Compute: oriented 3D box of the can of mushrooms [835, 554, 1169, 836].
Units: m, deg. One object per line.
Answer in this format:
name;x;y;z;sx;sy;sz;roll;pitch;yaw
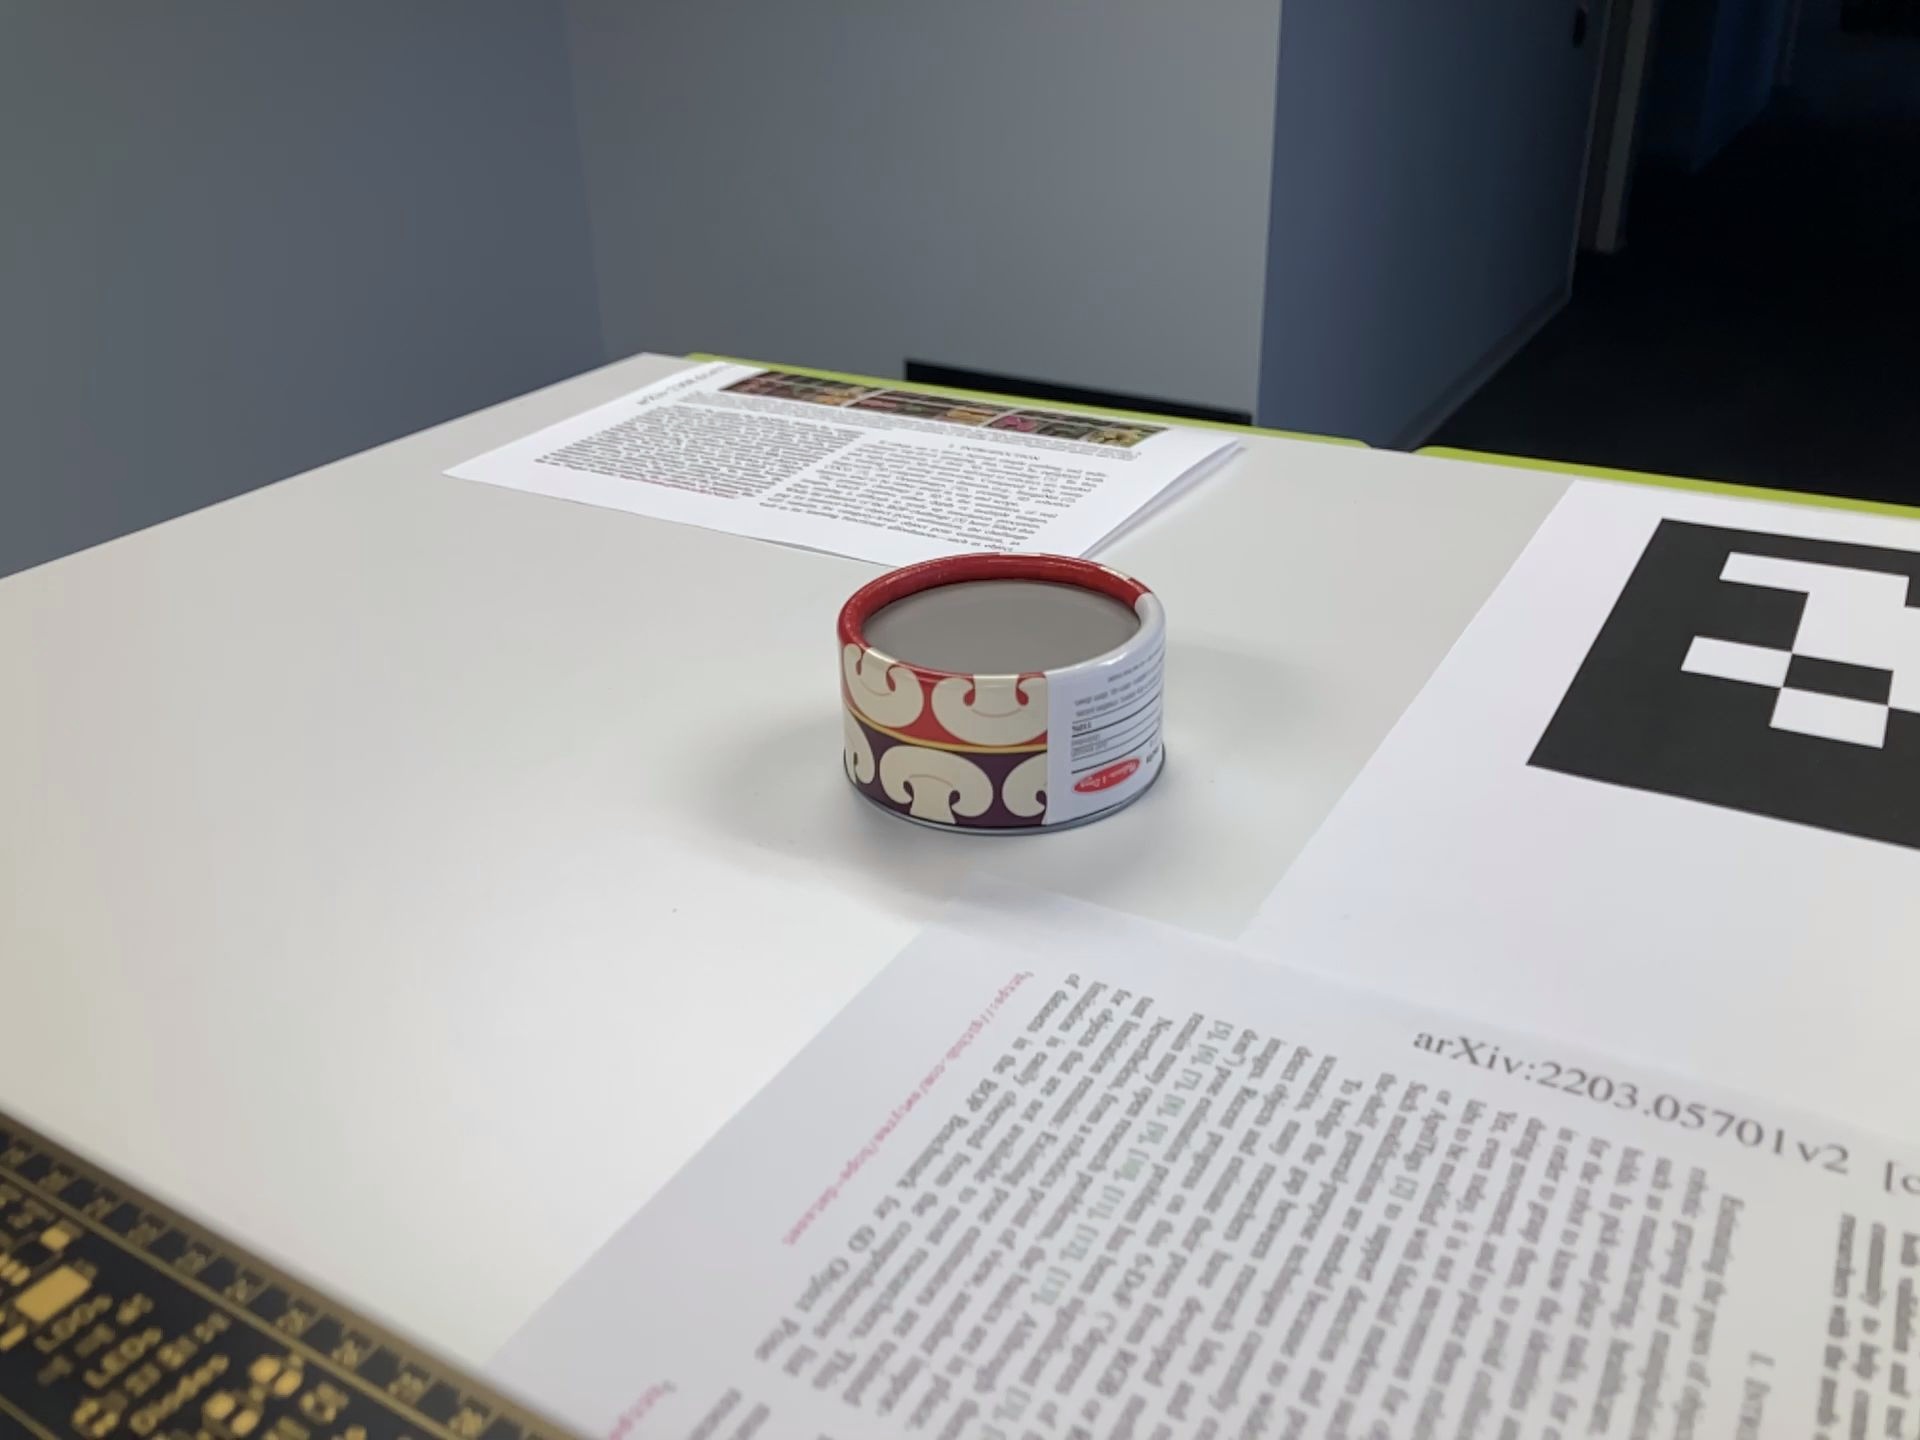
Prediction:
can of mushrooms;0.006;-0.008;0.318;0.071;0.033;0.071;-2;27;1
